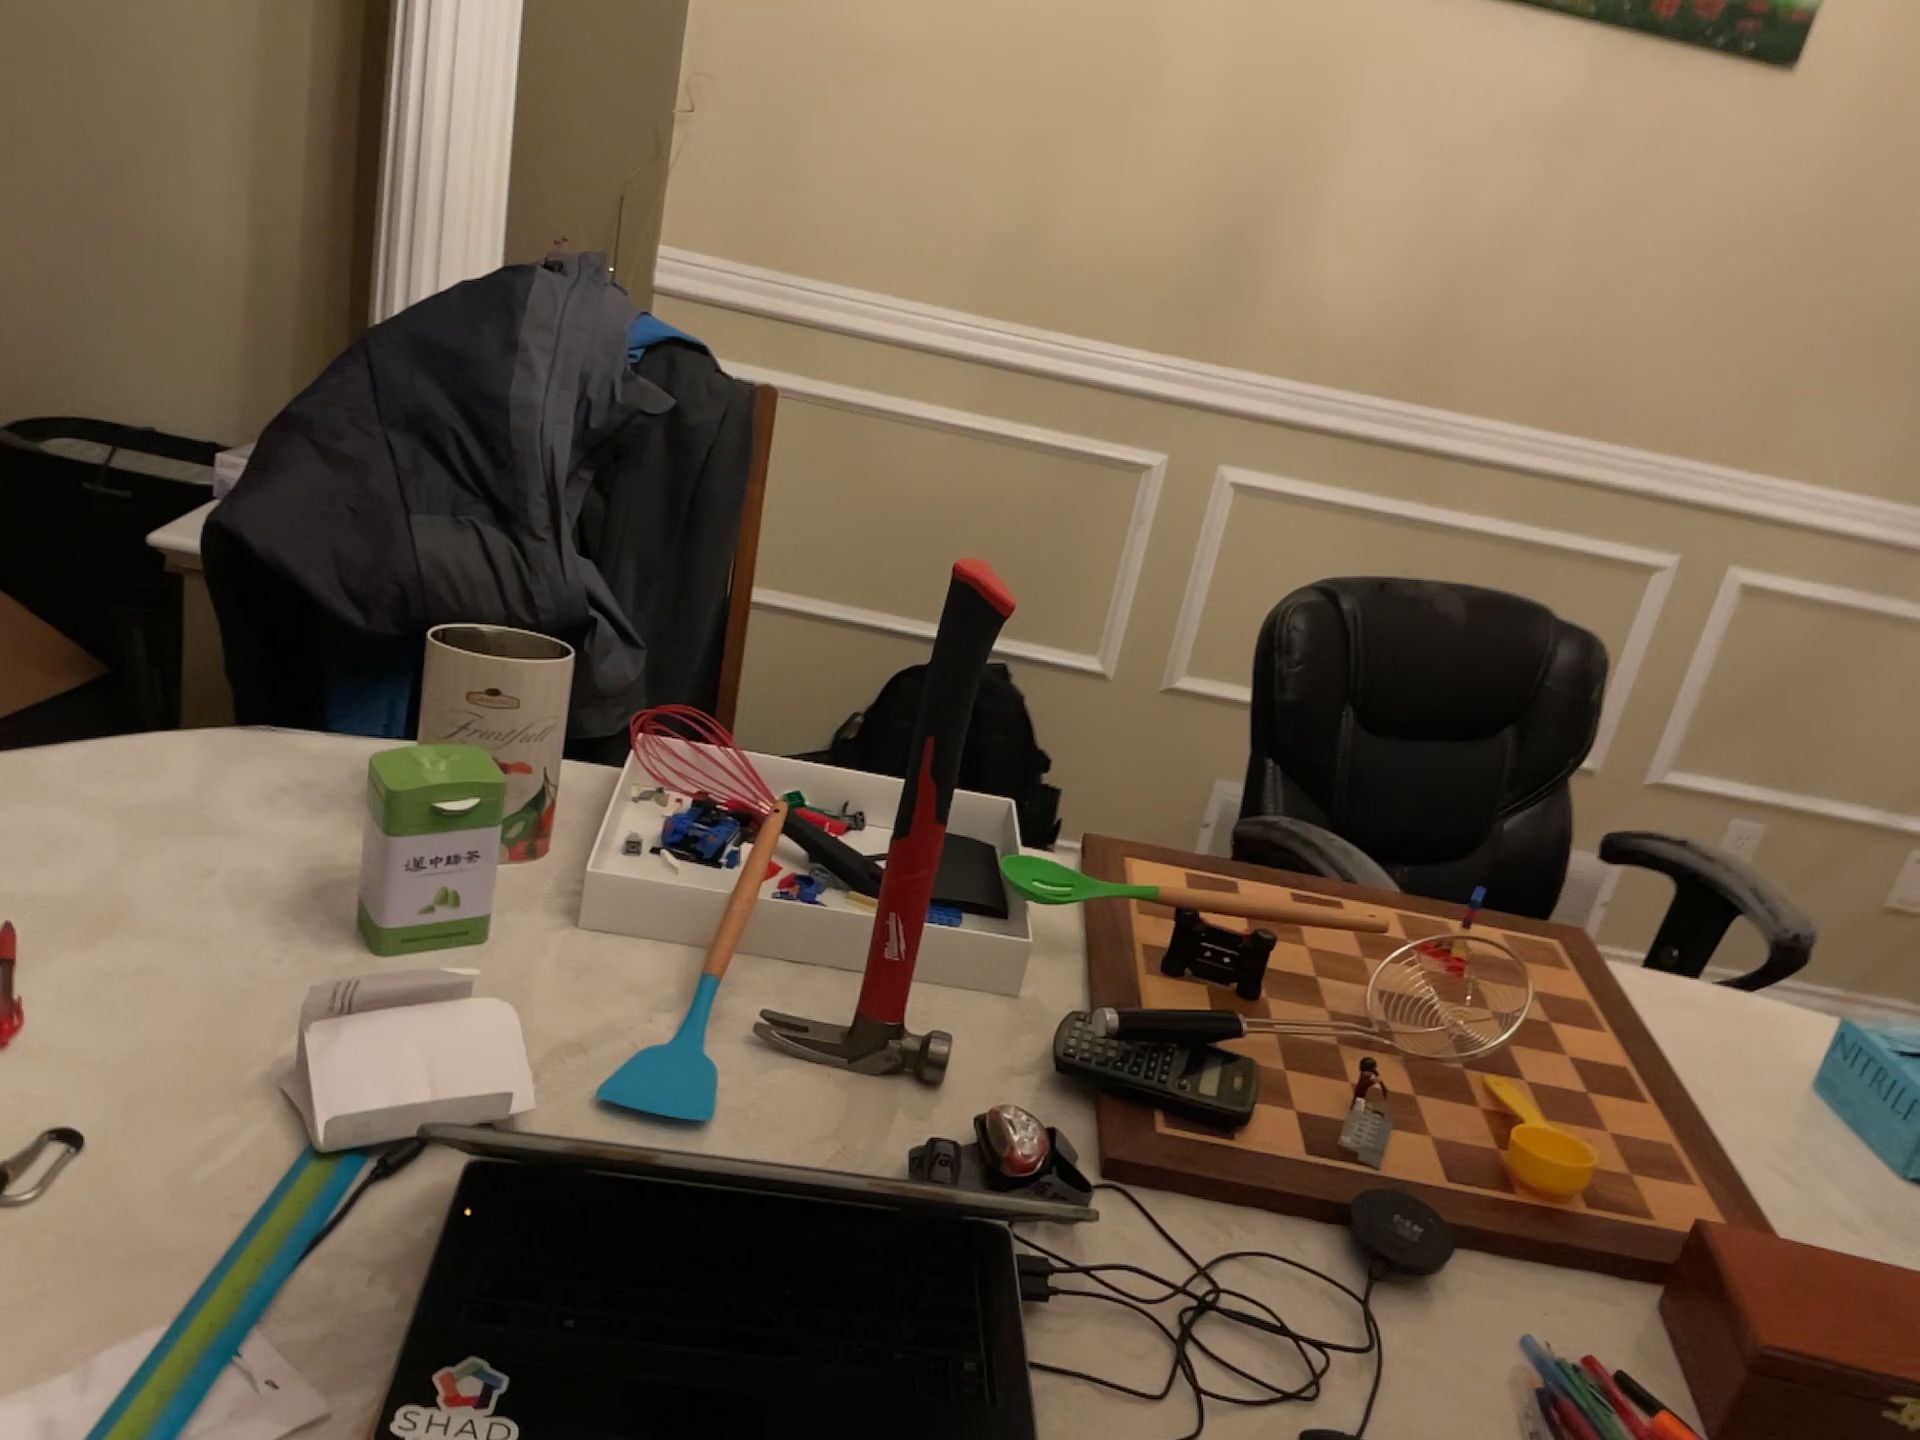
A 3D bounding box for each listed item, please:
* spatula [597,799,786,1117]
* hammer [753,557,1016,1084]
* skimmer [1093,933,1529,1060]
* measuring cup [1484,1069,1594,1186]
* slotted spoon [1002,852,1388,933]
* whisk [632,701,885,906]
[{"bbox_3d":[-0.174,0.165,1.171,0.082,0.044,0.317,12,43,3],"label":"spatula"},{"bbox_3d":[-0.043,0.072,1.082,0.143,0.386,0.038,12,22,0],"label":"hammer"},{"bbox_3d":[0.272,0.210,1.223,0.362,0.090,0.127,6,25,-25],"label":"skimmer"},{"bbox_3d":[0.421,0.303,1.190,0.062,0.029,0.156,8,10,-2],"label":"measuring cup"},{"bbox_3d":[0.188,0.147,1.298,0.314,0.031,0.070,7,19,11],"label":"slotted spoon"},{"bbox_3d":[-0.175,0.075,1.399,0.296,0.073,0.073,34,46,15],"label":"whisk"}]
